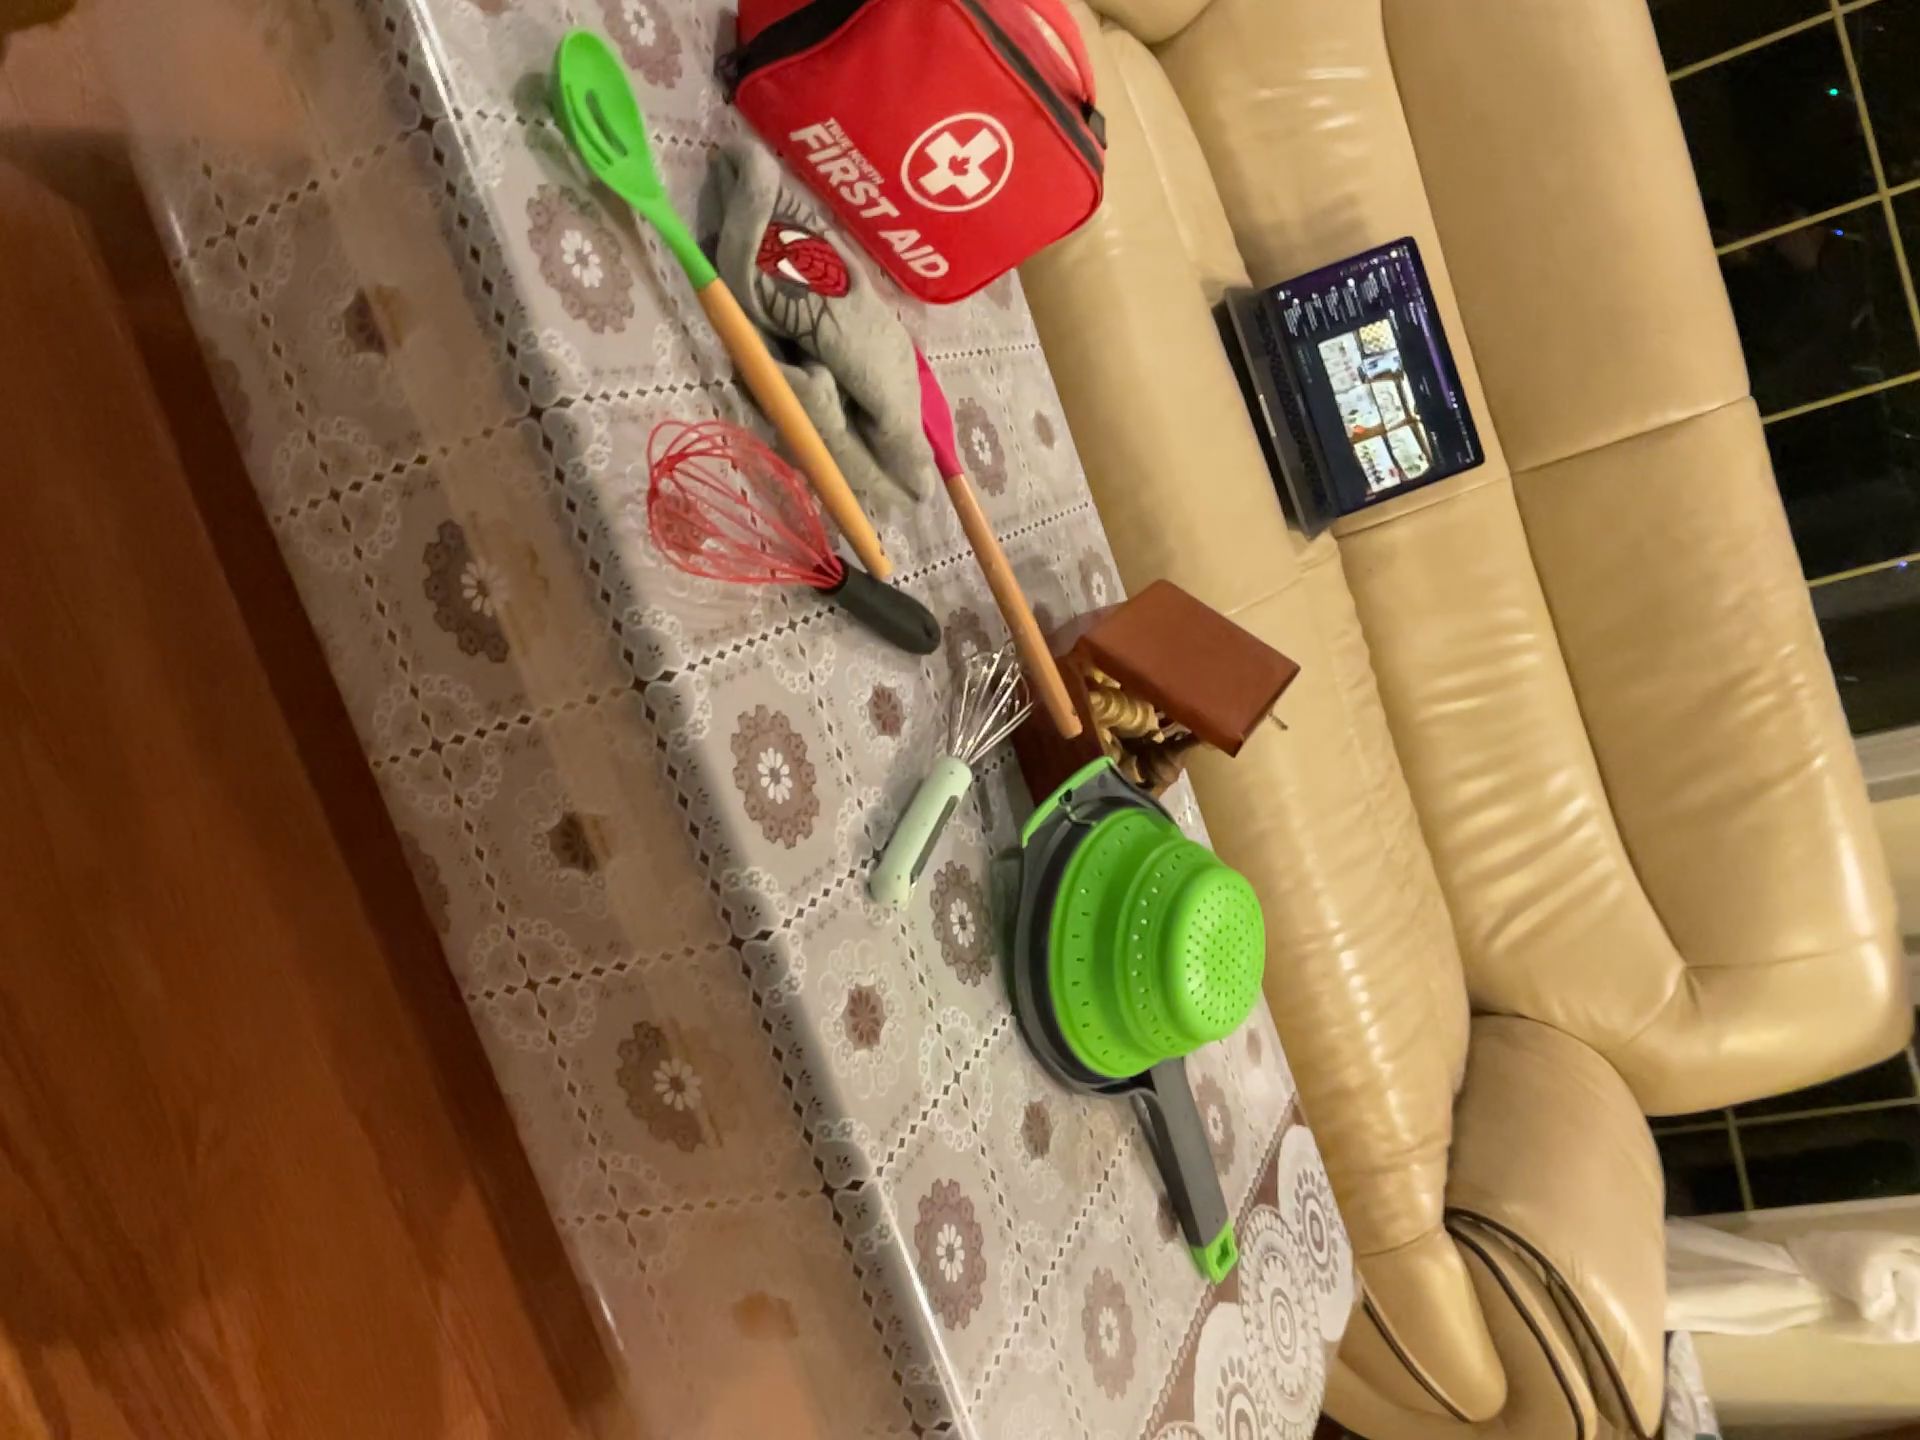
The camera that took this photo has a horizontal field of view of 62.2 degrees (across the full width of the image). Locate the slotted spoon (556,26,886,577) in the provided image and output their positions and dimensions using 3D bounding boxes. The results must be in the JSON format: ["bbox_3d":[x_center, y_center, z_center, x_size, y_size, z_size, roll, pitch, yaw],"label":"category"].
[{"bbox_3d":[-0.121,-0.207,0.835,0.313,0.031,0.070,59,30,-23],"label":"slotted spoon"}]

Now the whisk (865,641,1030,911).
[{"bbox_3d":[-0.008,0.029,0.945,0.058,0.059,0.246,27,39,0],"label":"whisk"}]

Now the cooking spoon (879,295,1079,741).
[{"bbox_3d":[0.006,-0.133,1.017,0.068,0.017,0.319,-9,73,-62],"label":"cooking spoon"}]

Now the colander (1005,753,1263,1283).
[{"bbox_3d":[0.151,0.216,1.039,0.204,0.094,0.396,-38,118,-41],"label":"colander"}]

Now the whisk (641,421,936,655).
[{"bbox_3d":[-0.078,-0.084,0.850,0.295,0.073,0.073,31,43,-63],"label":"whisk"}]
